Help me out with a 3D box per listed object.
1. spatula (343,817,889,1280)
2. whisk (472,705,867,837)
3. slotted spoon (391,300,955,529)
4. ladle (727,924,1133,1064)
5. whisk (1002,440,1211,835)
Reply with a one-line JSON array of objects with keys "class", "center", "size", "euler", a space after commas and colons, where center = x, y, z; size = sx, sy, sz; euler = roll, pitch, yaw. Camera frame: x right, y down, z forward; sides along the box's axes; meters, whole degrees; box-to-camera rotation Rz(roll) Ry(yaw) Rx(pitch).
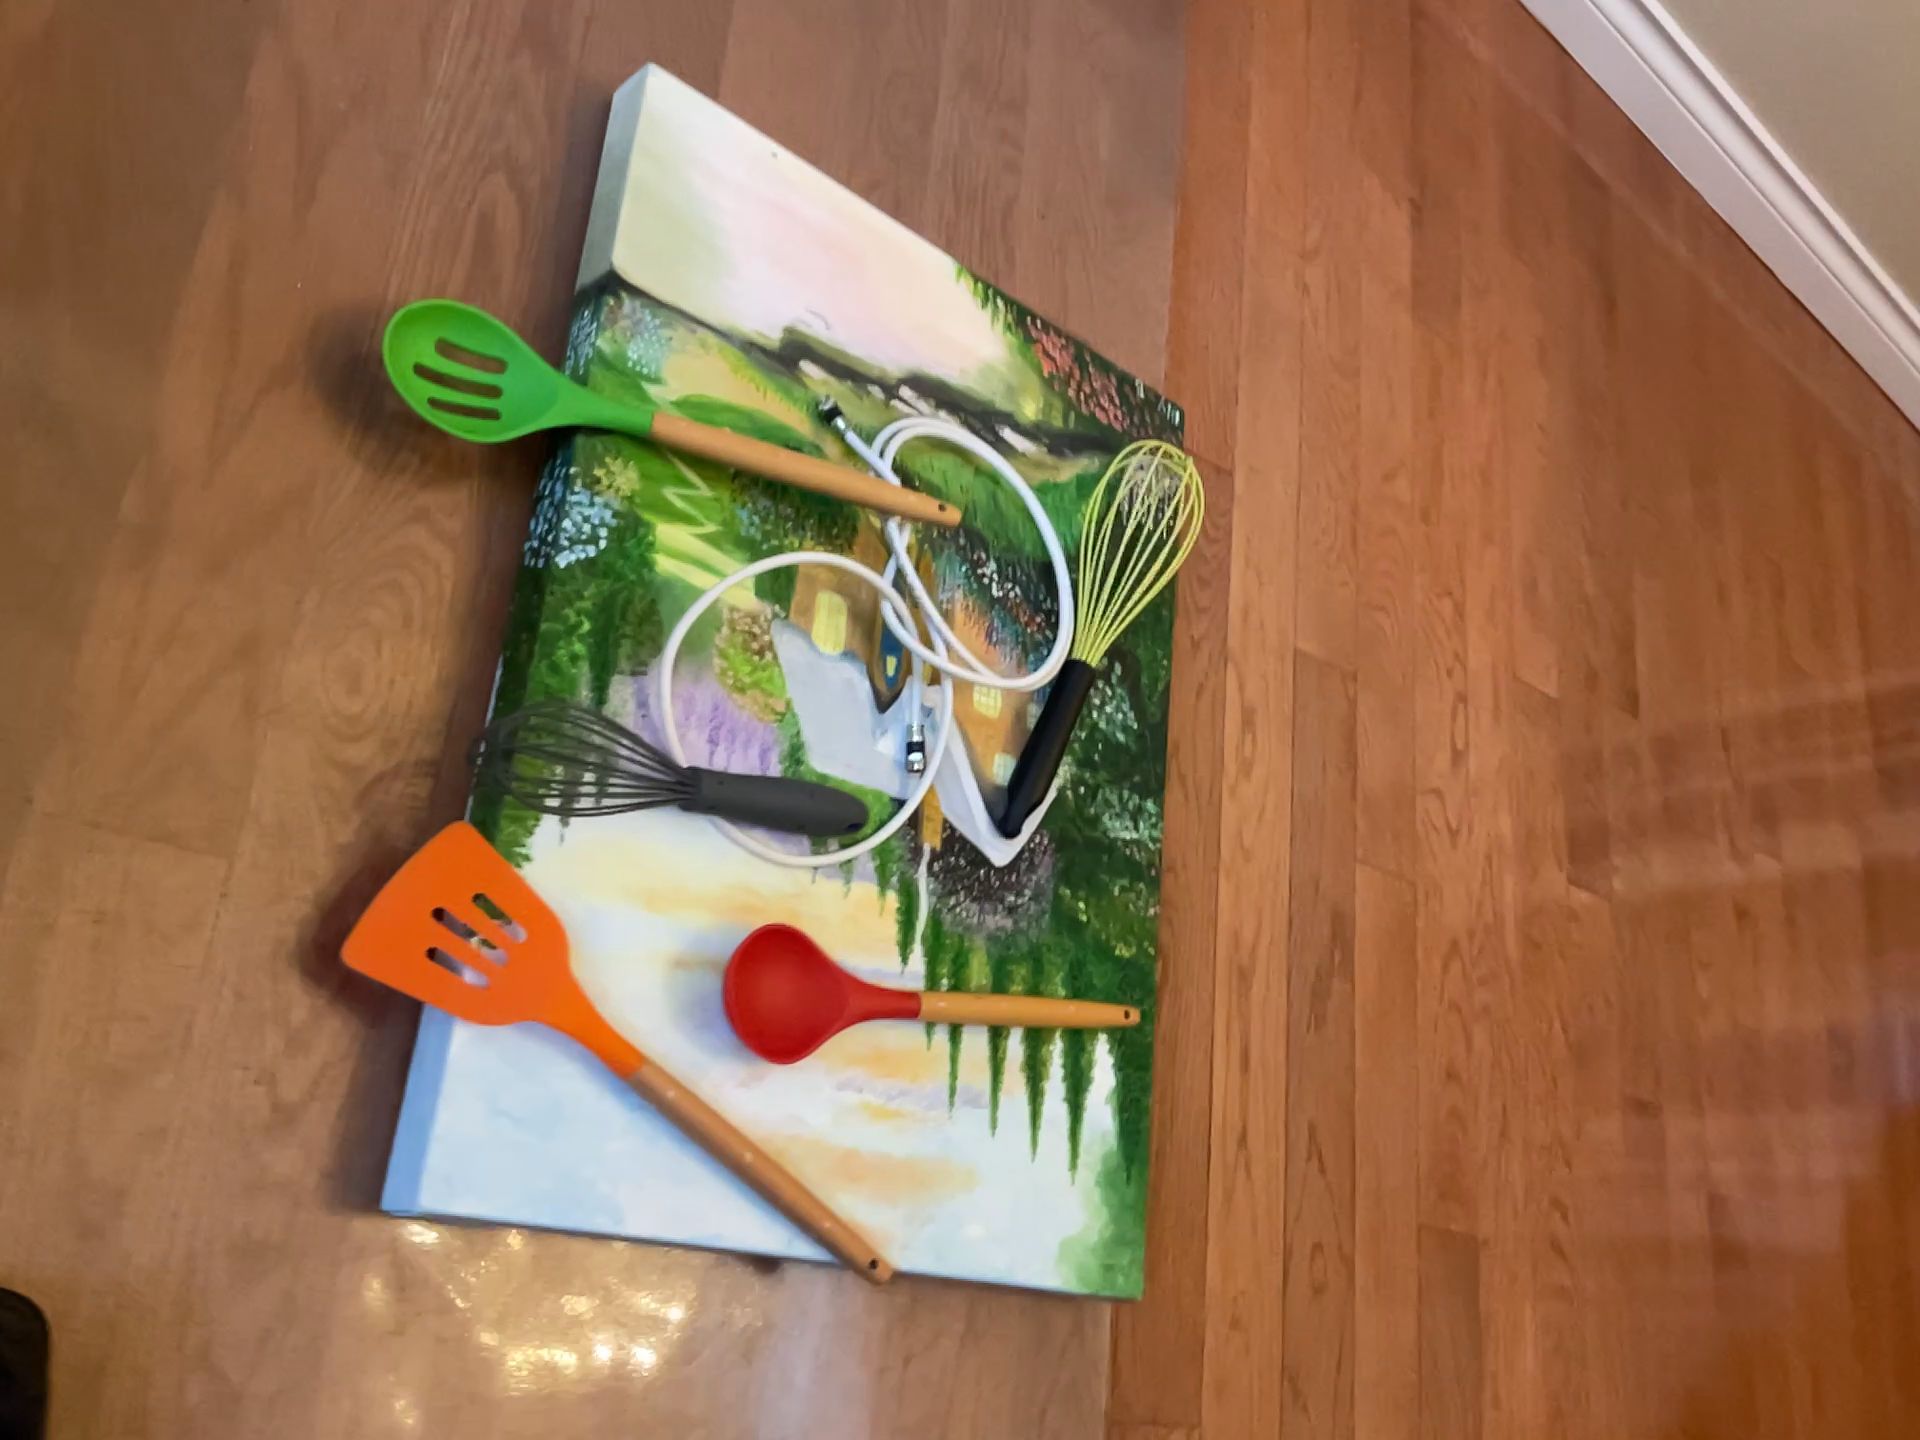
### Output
[{"class": "spatula", "center": [-0.144, 0.177, 0.761], "size": [0.322, 0.041, 0.081], "euler": [48, 62, -25]}, {"class": "whisk", "center": [-0.132, 0.032, 0.787], "size": [0.238, 0.055, 0.055], "euler": [15, 79, -46]}, {"class": "slotted spoon", "center": [-0.140, -0.146, 0.834], "size": [0.313, 0.031, 0.070], "euler": [13, 68, -28]}, {"class": "ladle", "center": [-0.007, 0.158, 0.882], "size": [0.315, 0.031, 0.069], "euler": [13, 71, -43]}, {"class": "whisk", "center": [0.086, -0.059, 1.017], "size": [0.079, 0.067, 0.312], "euler": [37, 61, -24]}]
